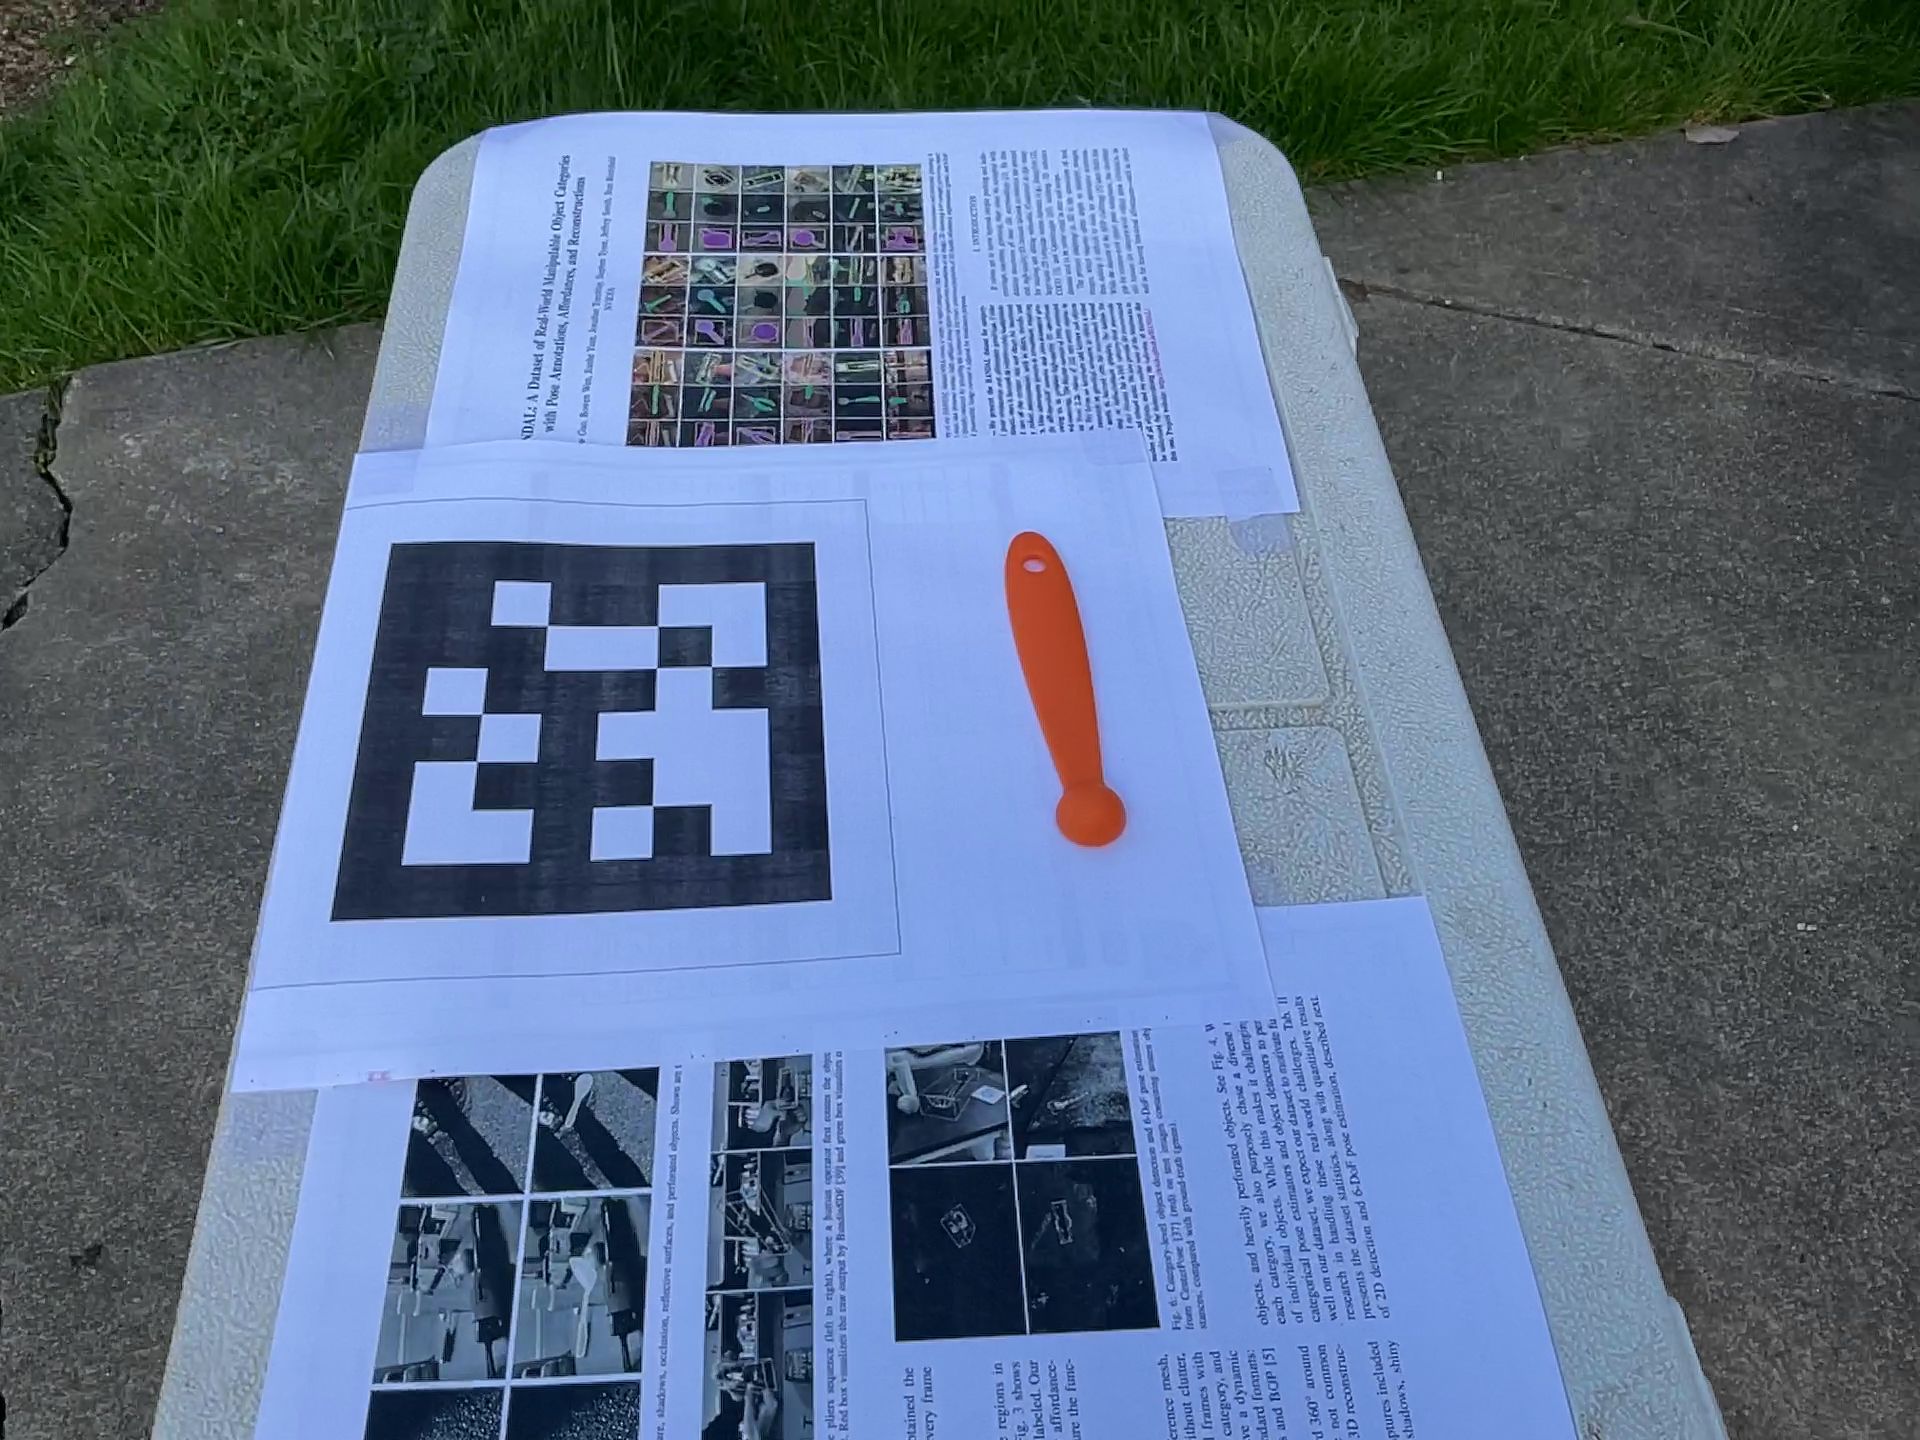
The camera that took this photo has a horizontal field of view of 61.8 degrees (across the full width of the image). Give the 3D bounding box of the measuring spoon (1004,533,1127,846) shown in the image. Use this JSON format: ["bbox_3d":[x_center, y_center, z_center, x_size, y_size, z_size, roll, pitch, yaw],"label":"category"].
[{"bbox_3d":[0.029,-0.014,0.467,0.021,0.011,0.117,-2,52,-10],"label":"measuring spoon"}]
